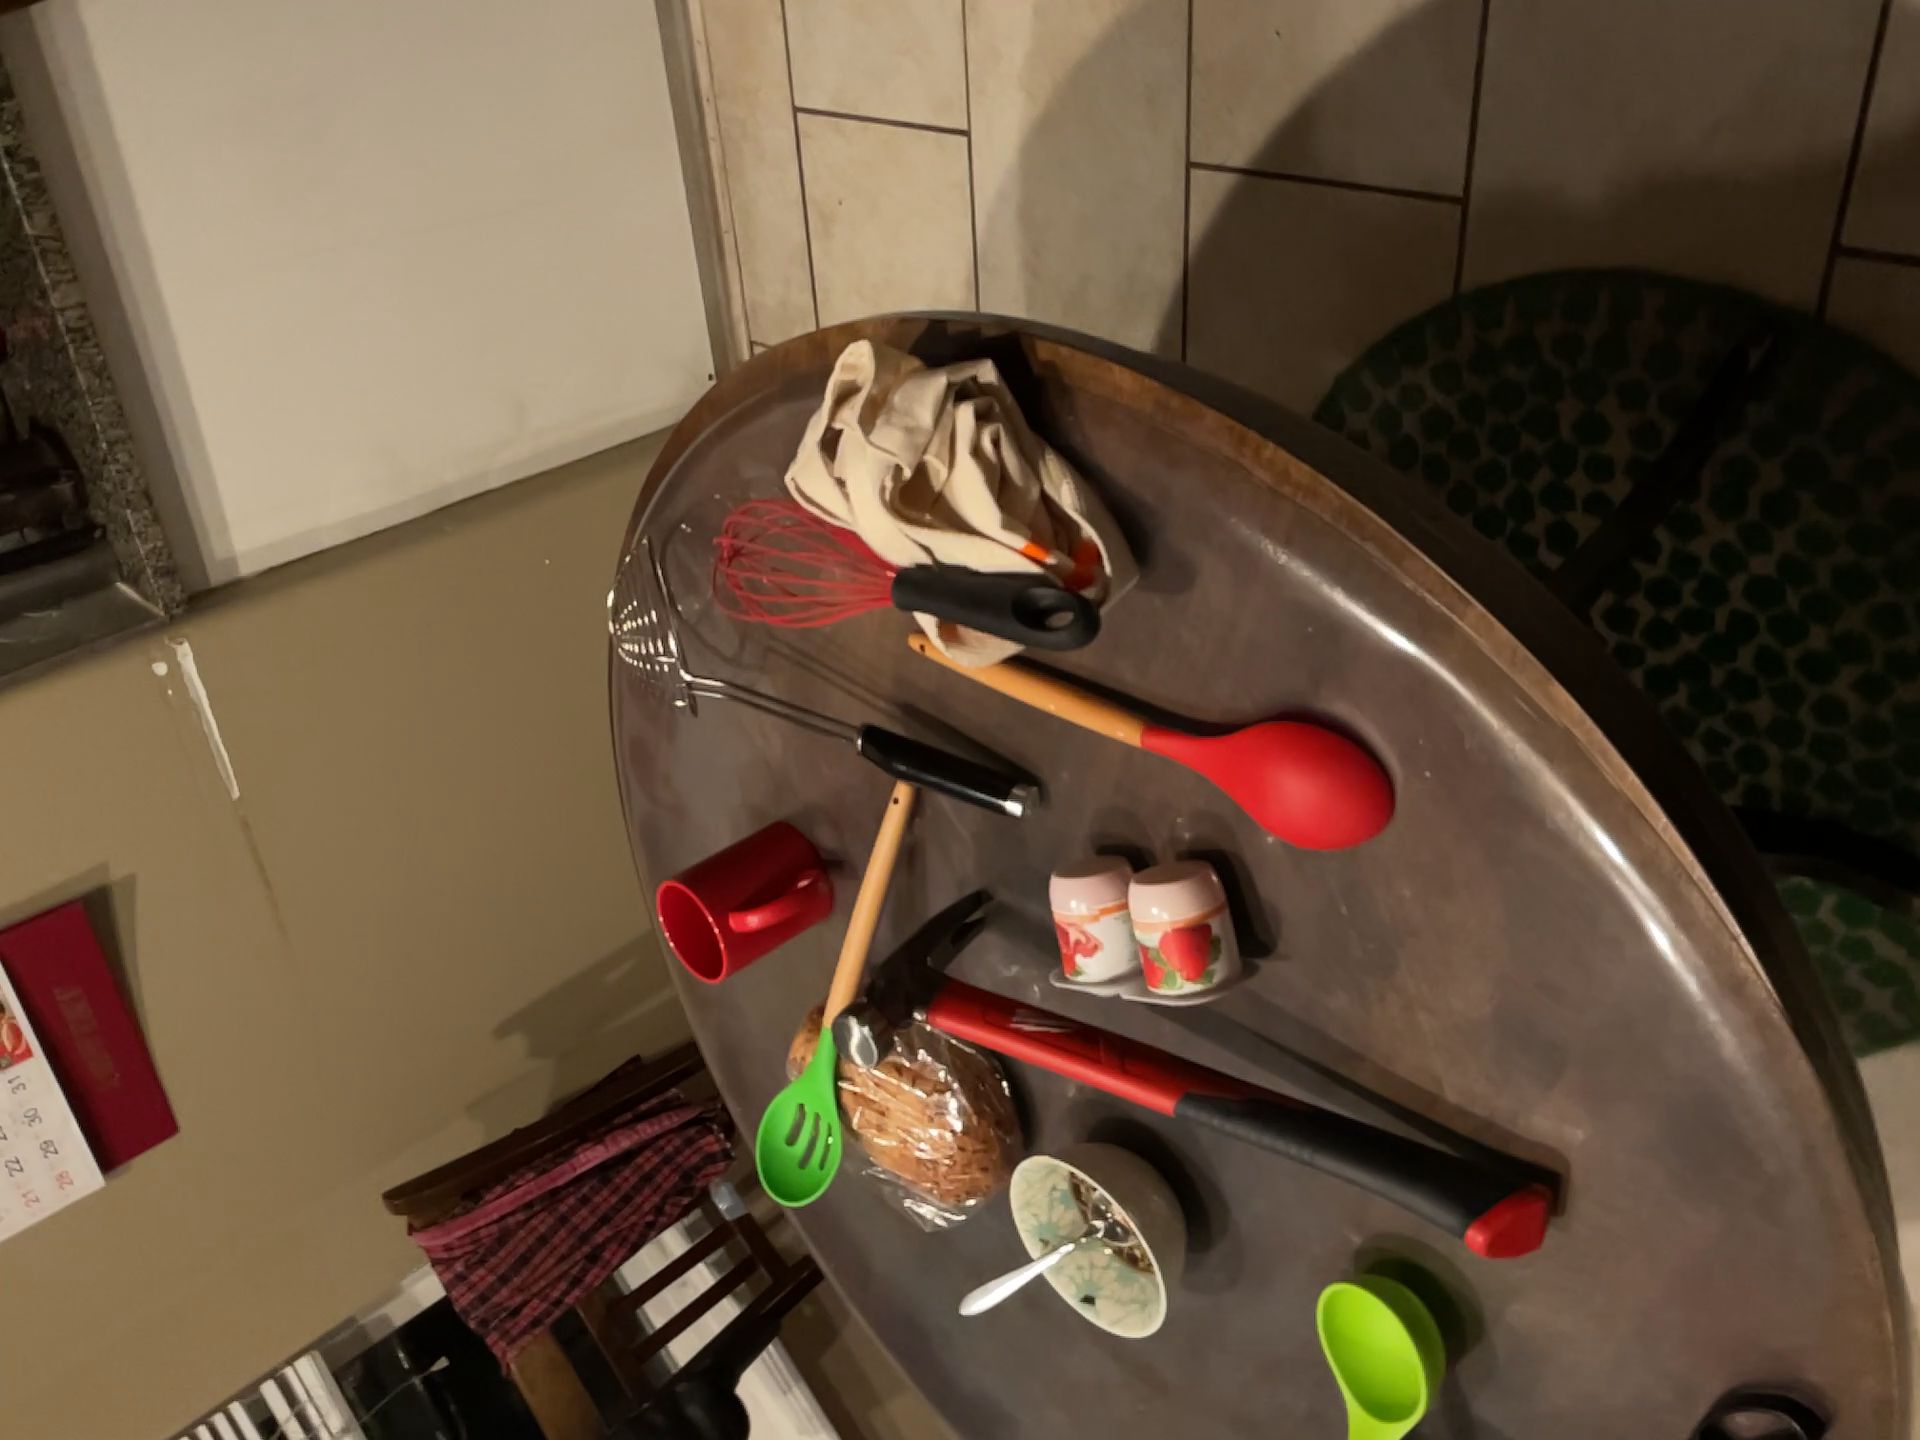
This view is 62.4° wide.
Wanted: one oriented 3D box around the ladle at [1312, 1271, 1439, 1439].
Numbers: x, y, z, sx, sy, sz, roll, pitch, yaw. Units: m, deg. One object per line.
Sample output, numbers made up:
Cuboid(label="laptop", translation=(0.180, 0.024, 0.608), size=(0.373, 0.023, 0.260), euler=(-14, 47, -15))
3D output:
Cuboid(label="ladle", translation=(0.174, 0.447, 0.825), size=(0.062, 0.320, 0.078), euler=(27, 170, -28))

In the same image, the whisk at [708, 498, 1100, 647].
Cuboid(label="whisk", translation=(-0.041, -0.074, 0.836), size=(0.296, 0.073, 0.073), euler=(15, 123, 44))

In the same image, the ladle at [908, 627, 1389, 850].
Cuboid(label="ladle", translation=(0.079, -0.003, 0.824), size=(0.316, 0.031, 0.069), euler=(24, 130, 42))

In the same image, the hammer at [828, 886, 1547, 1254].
Cuboid(label="hammer", translation=(0.122, 0.187, 0.859), size=(0.387, 0.143, 0.038), euler=(14, 126, 31))

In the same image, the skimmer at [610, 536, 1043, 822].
Cuboid(label="skimmer", translation=(-0.090, -0.023, 1.011), size=(0.364, 0.090, 0.127), euler=(20, 137, 29))

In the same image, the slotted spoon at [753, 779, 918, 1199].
Cuboid(label="slotted spoon", translation=(-0.075, 0.178, 1.043), size=(0.070, 0.031, 0.313), euler=(29, 111, 31))
